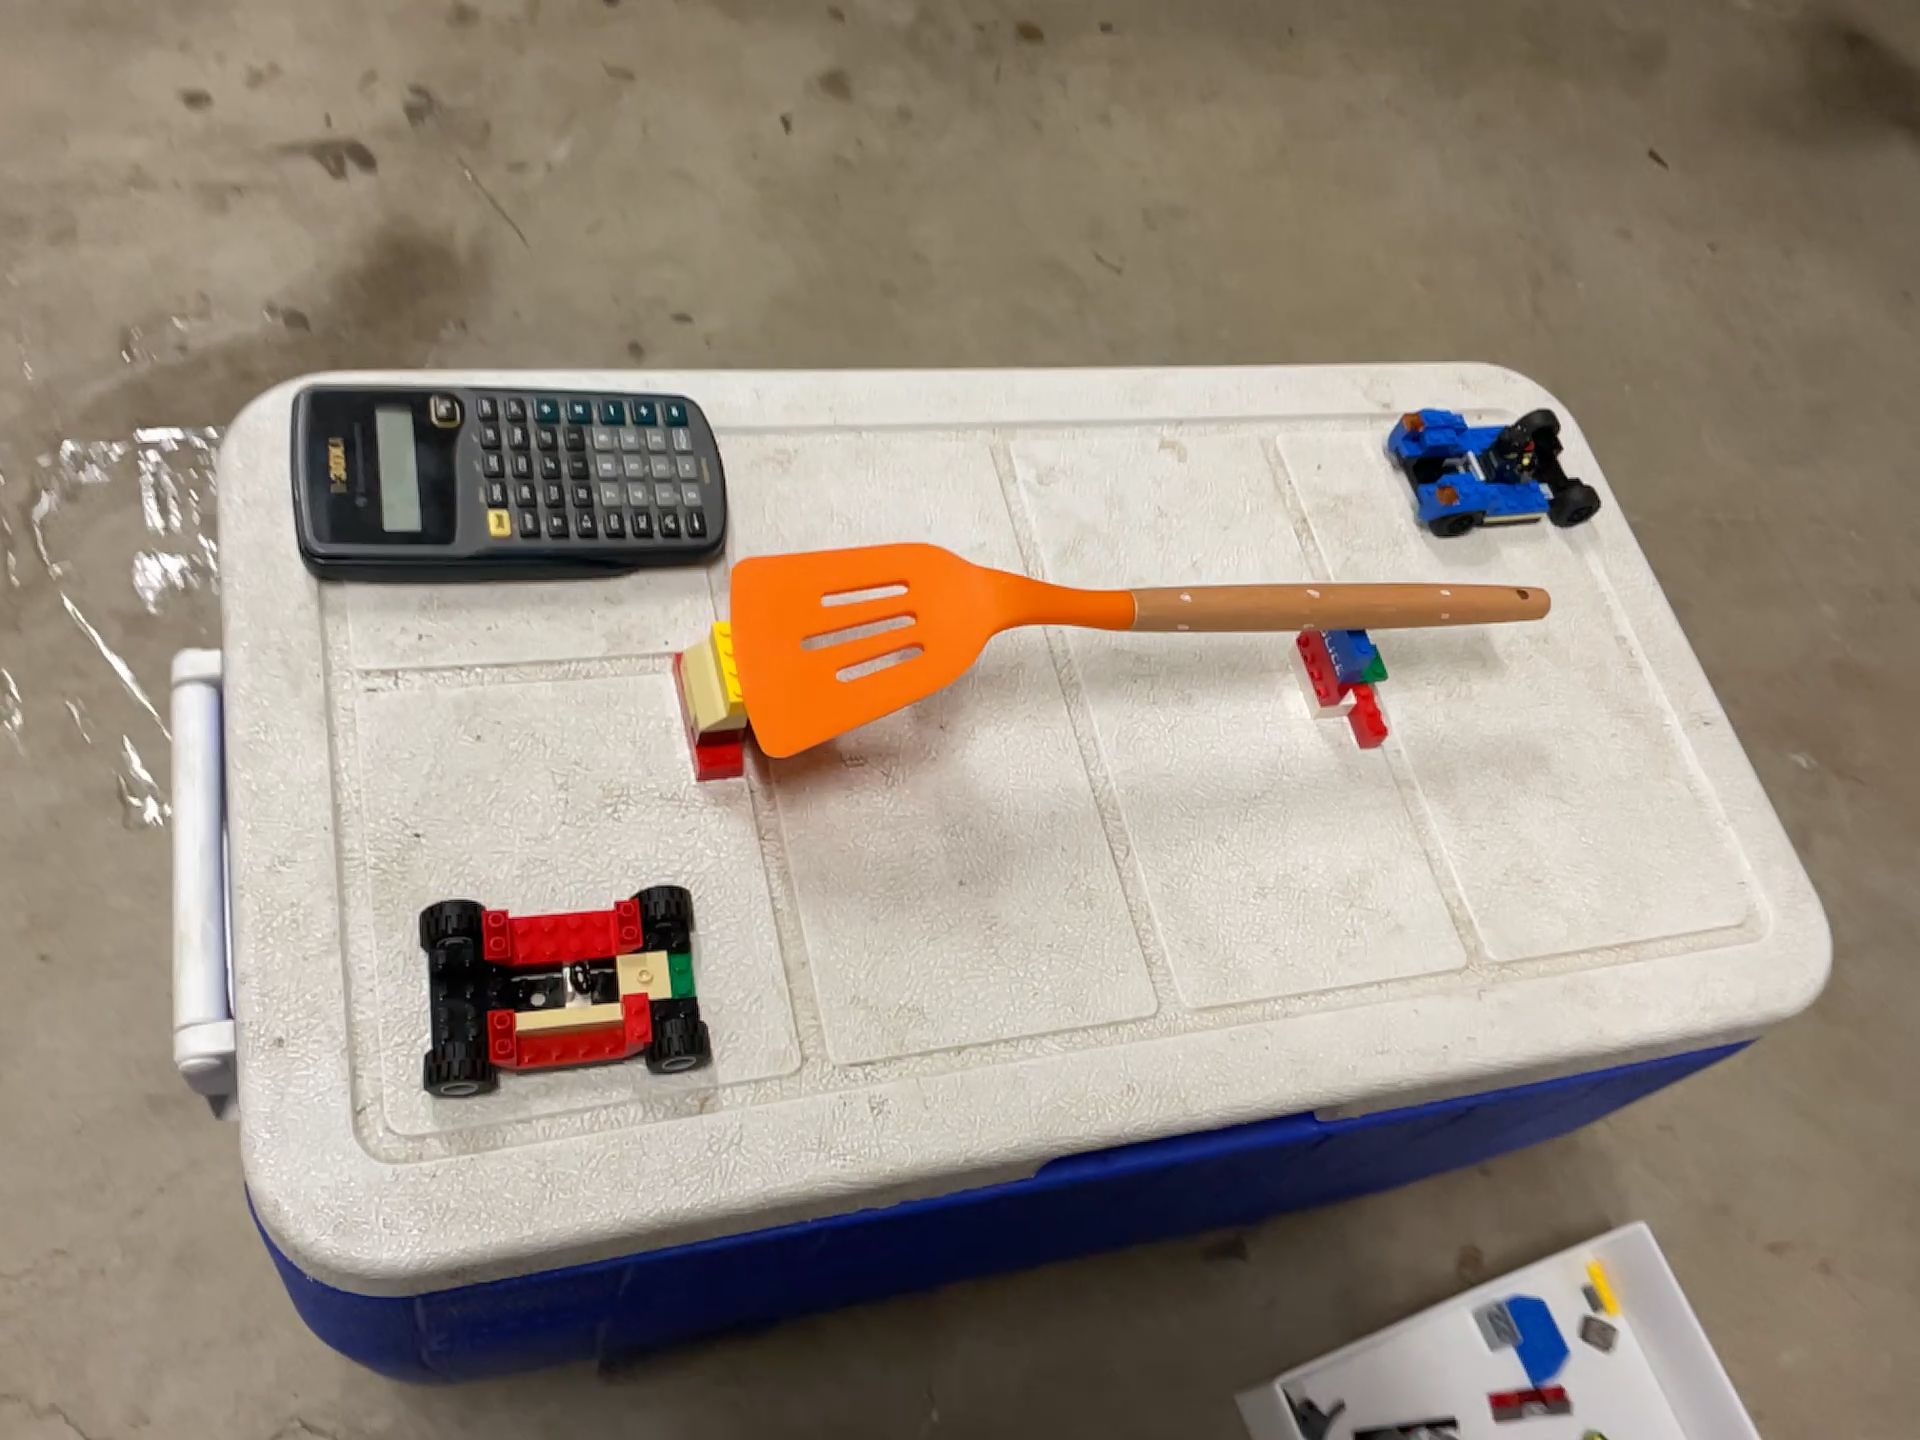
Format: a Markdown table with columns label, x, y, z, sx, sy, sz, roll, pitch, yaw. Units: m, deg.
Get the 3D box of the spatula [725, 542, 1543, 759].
| label | x | y | z | sx | sy | sz | roll | pitch | yaw |
| --- | --- | --- | --- | --- | --- | --- | --- | --- | --- |
| spatula | 0.078 | -0.036 | 0.587 | 0.322 | 0.041 | 0.081 | -2 | 60 | -22 |
